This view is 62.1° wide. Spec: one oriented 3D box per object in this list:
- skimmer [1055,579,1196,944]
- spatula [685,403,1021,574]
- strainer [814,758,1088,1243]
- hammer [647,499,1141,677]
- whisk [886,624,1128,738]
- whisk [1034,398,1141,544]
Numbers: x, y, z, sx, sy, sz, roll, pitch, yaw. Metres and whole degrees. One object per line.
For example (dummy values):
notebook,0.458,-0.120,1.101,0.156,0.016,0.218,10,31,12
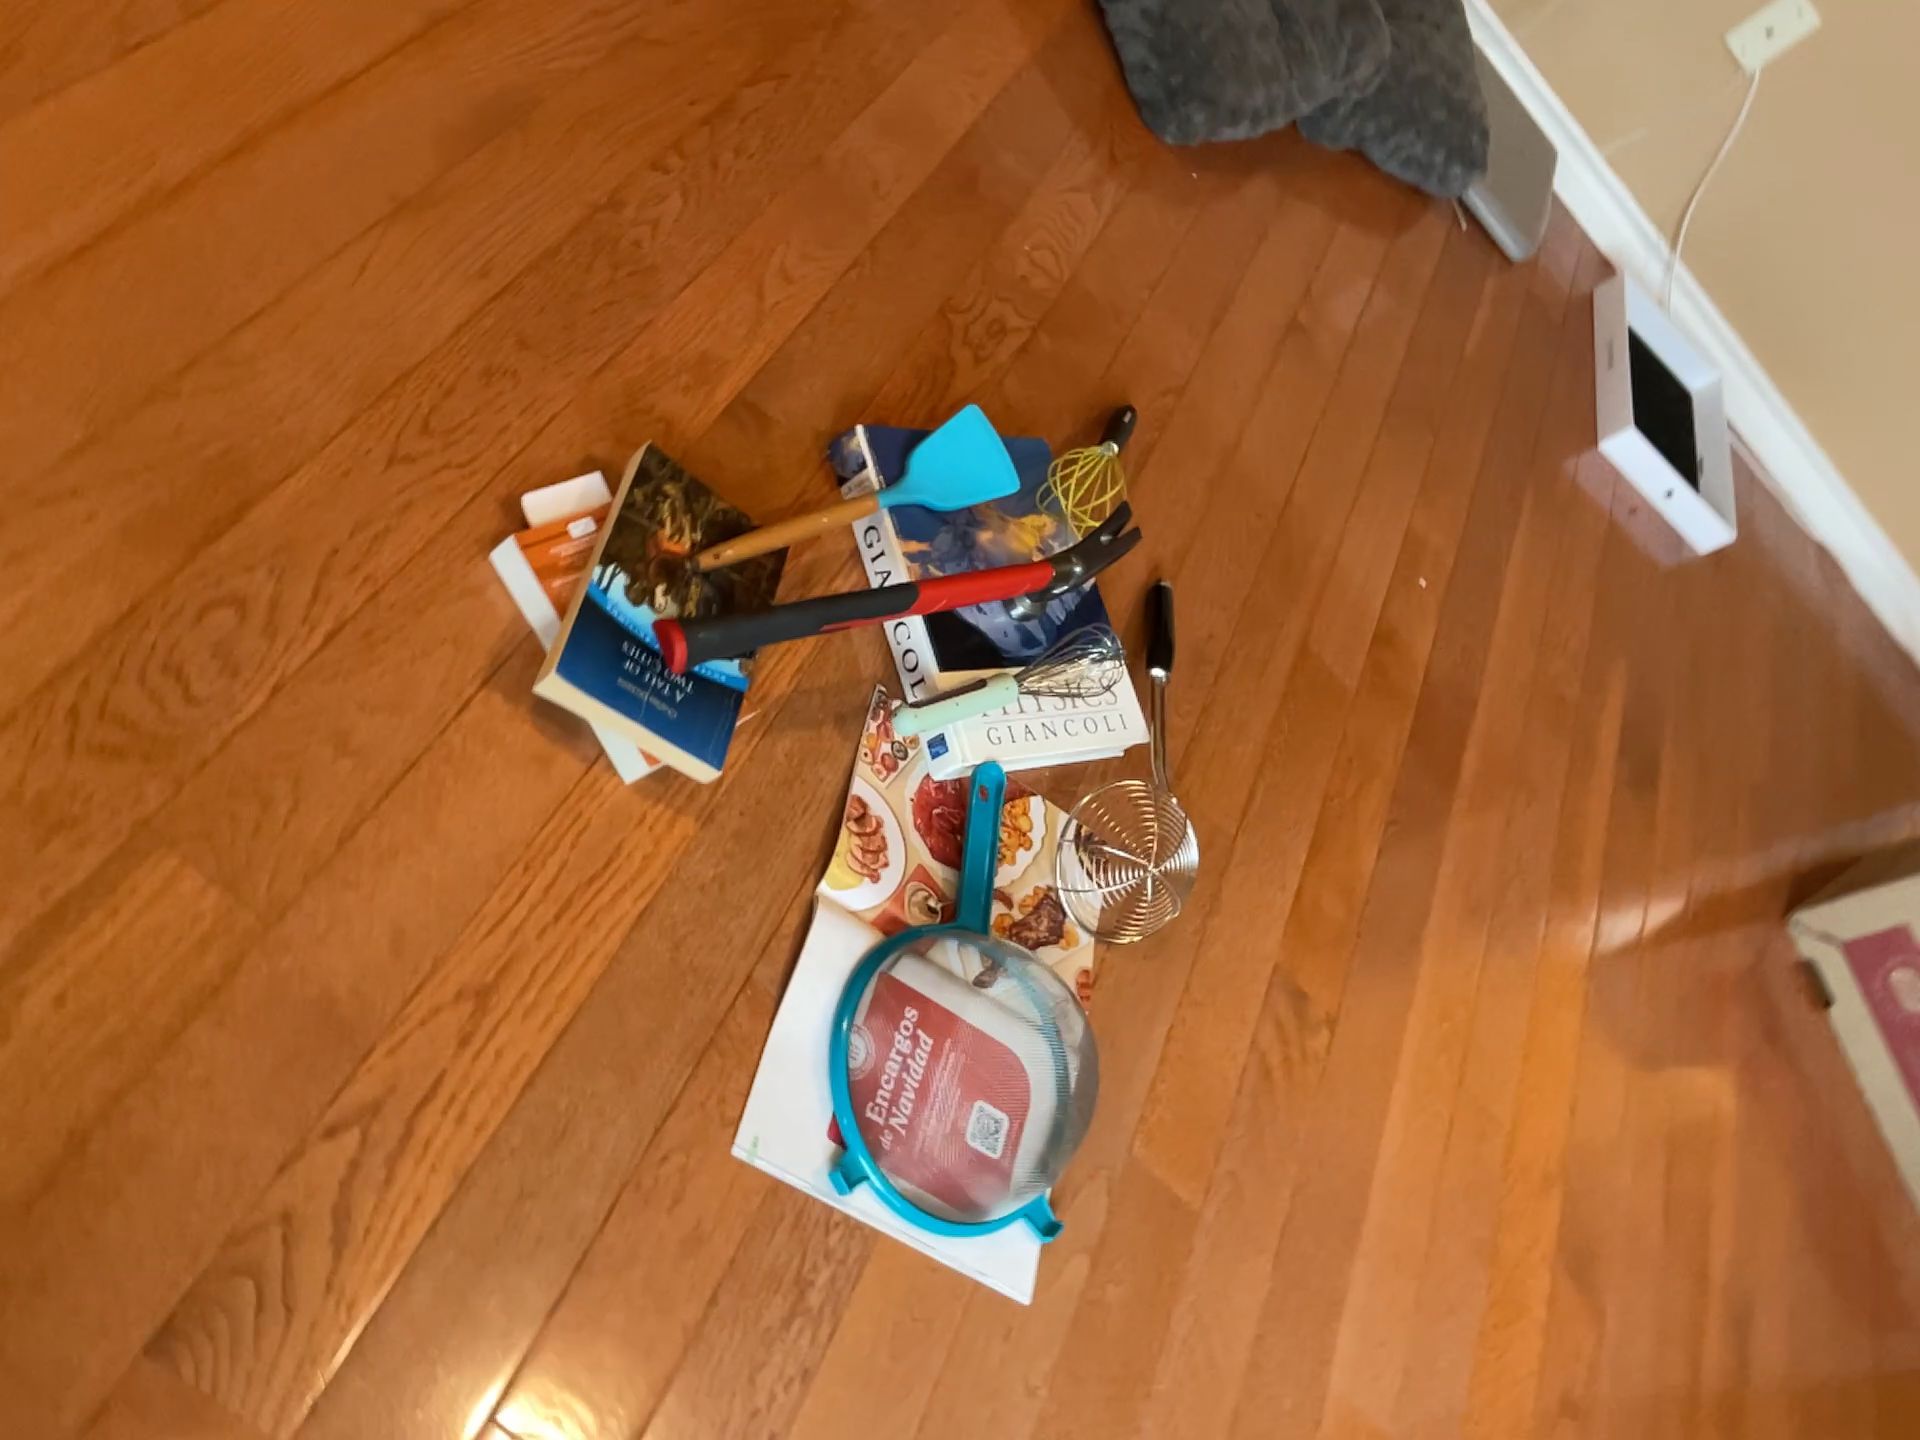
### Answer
skimmer,0.144,0.020,1.338,0.127,0.090,0.364,33,39,-23
spatula,-0.077,-0.157,1.160,0.318,0.044,0.082,-29,91,-46
strainer,0.026,0.175,1.087,0.211,0.095,0.341,24,61,-31
hammer,-0.040,-0.088,1.101,0.387,0.143,0.038,-15,76,-43
whisk,0.040,-0.026,1.205,0.246,0.057,0.059,-18,113,-41
whisk,0.126,-0.230,1.403,0.080,0.067,0.312,36,32,-4
